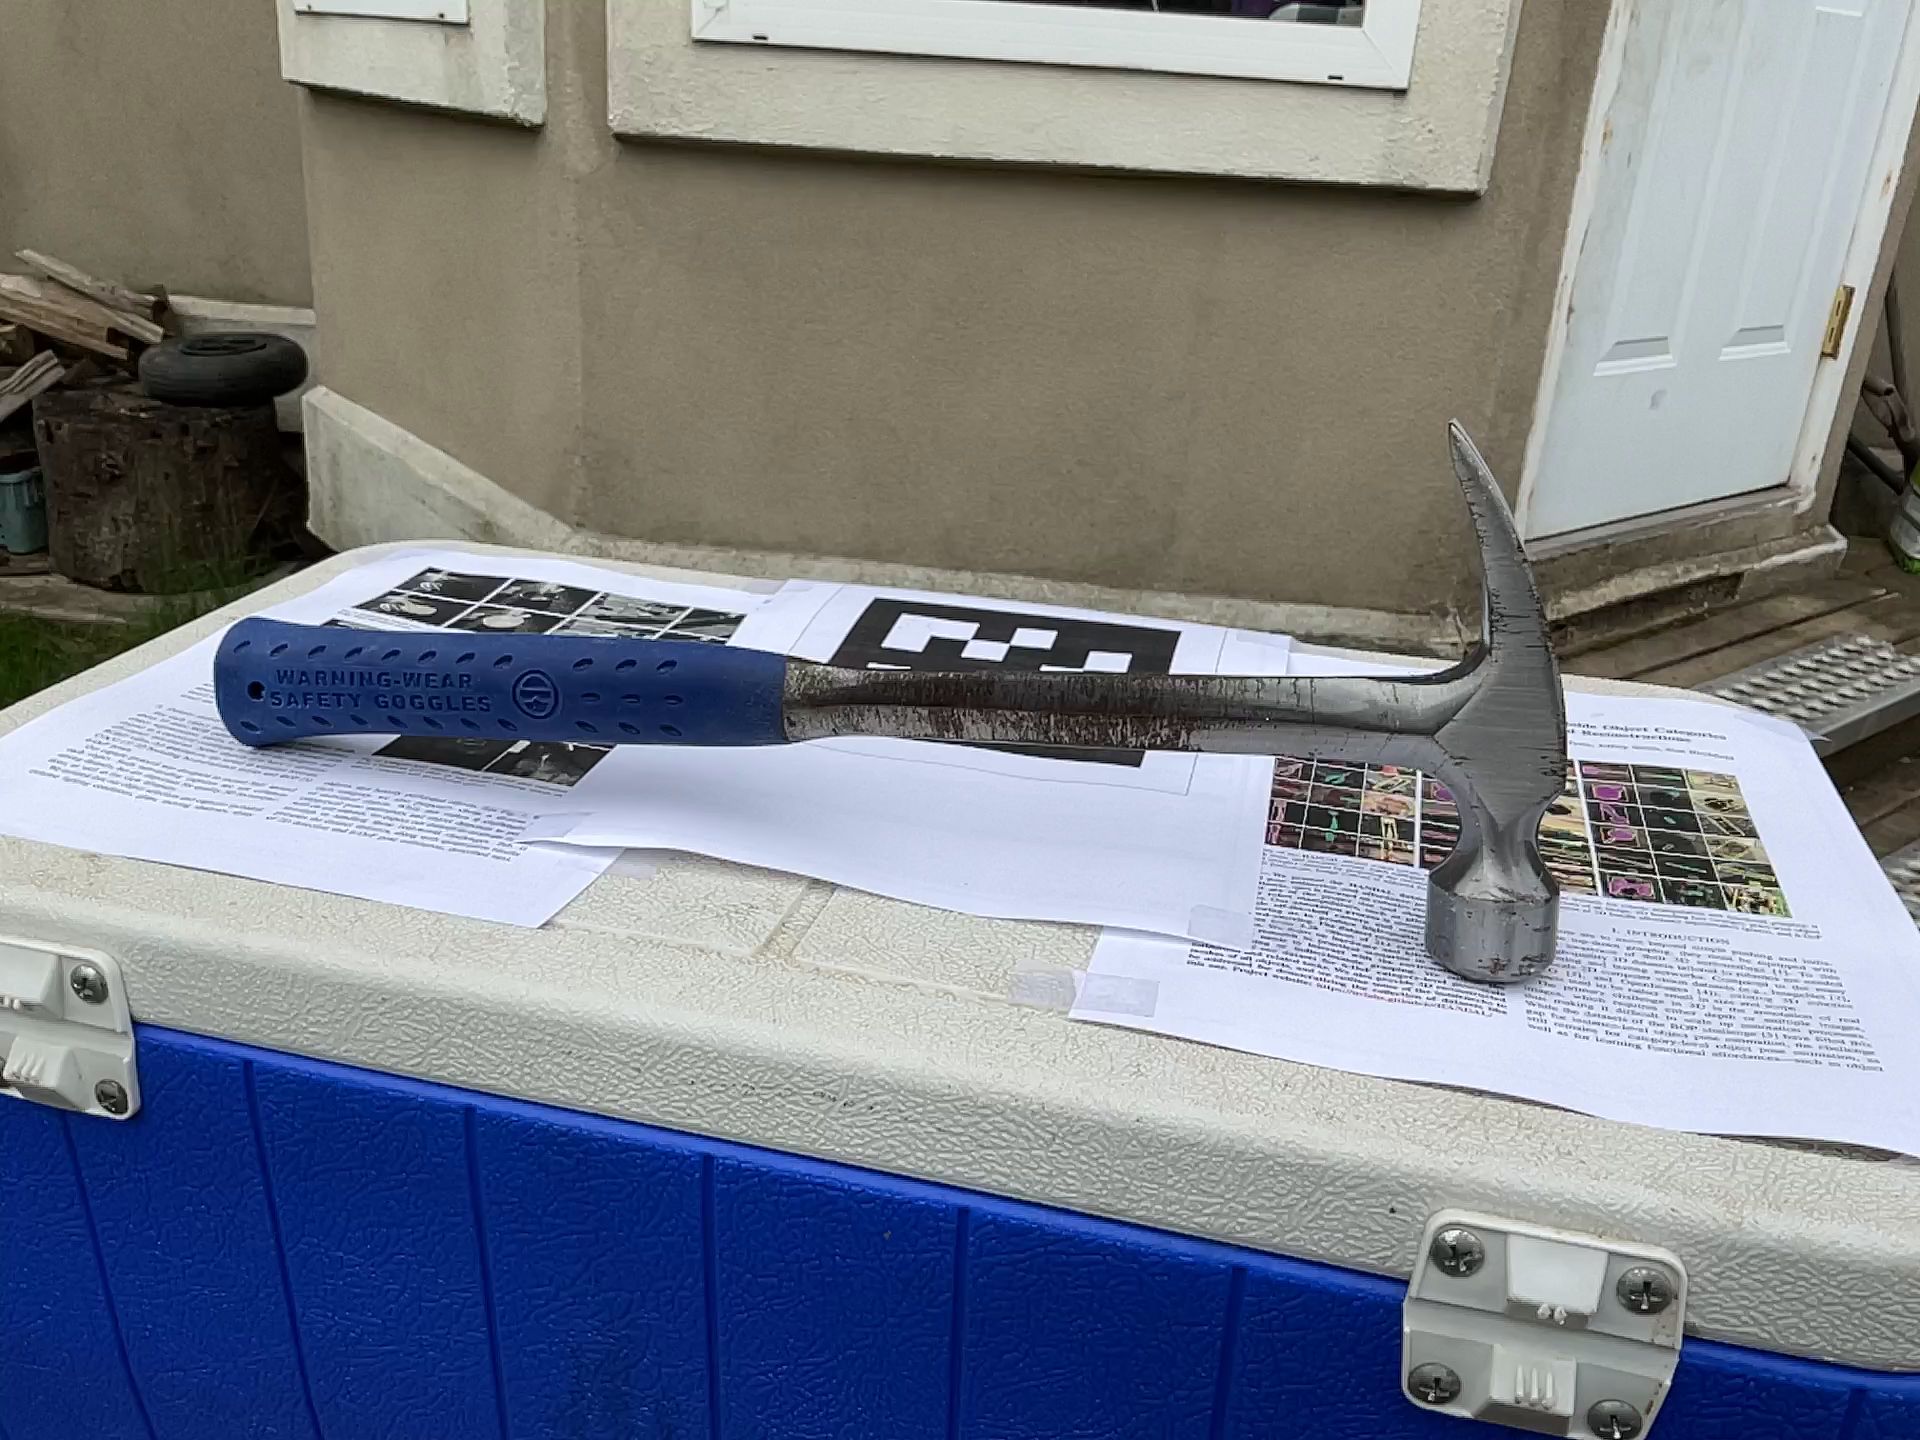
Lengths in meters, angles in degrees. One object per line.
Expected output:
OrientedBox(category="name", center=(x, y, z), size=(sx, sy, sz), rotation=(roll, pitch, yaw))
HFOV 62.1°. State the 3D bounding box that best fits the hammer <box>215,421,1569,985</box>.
OrientedBox(category="hammer", center=(-0.038, -0.010, 0.464), size=(0.405, 0.144, 0.035), rotation=(2, 16, 16))
